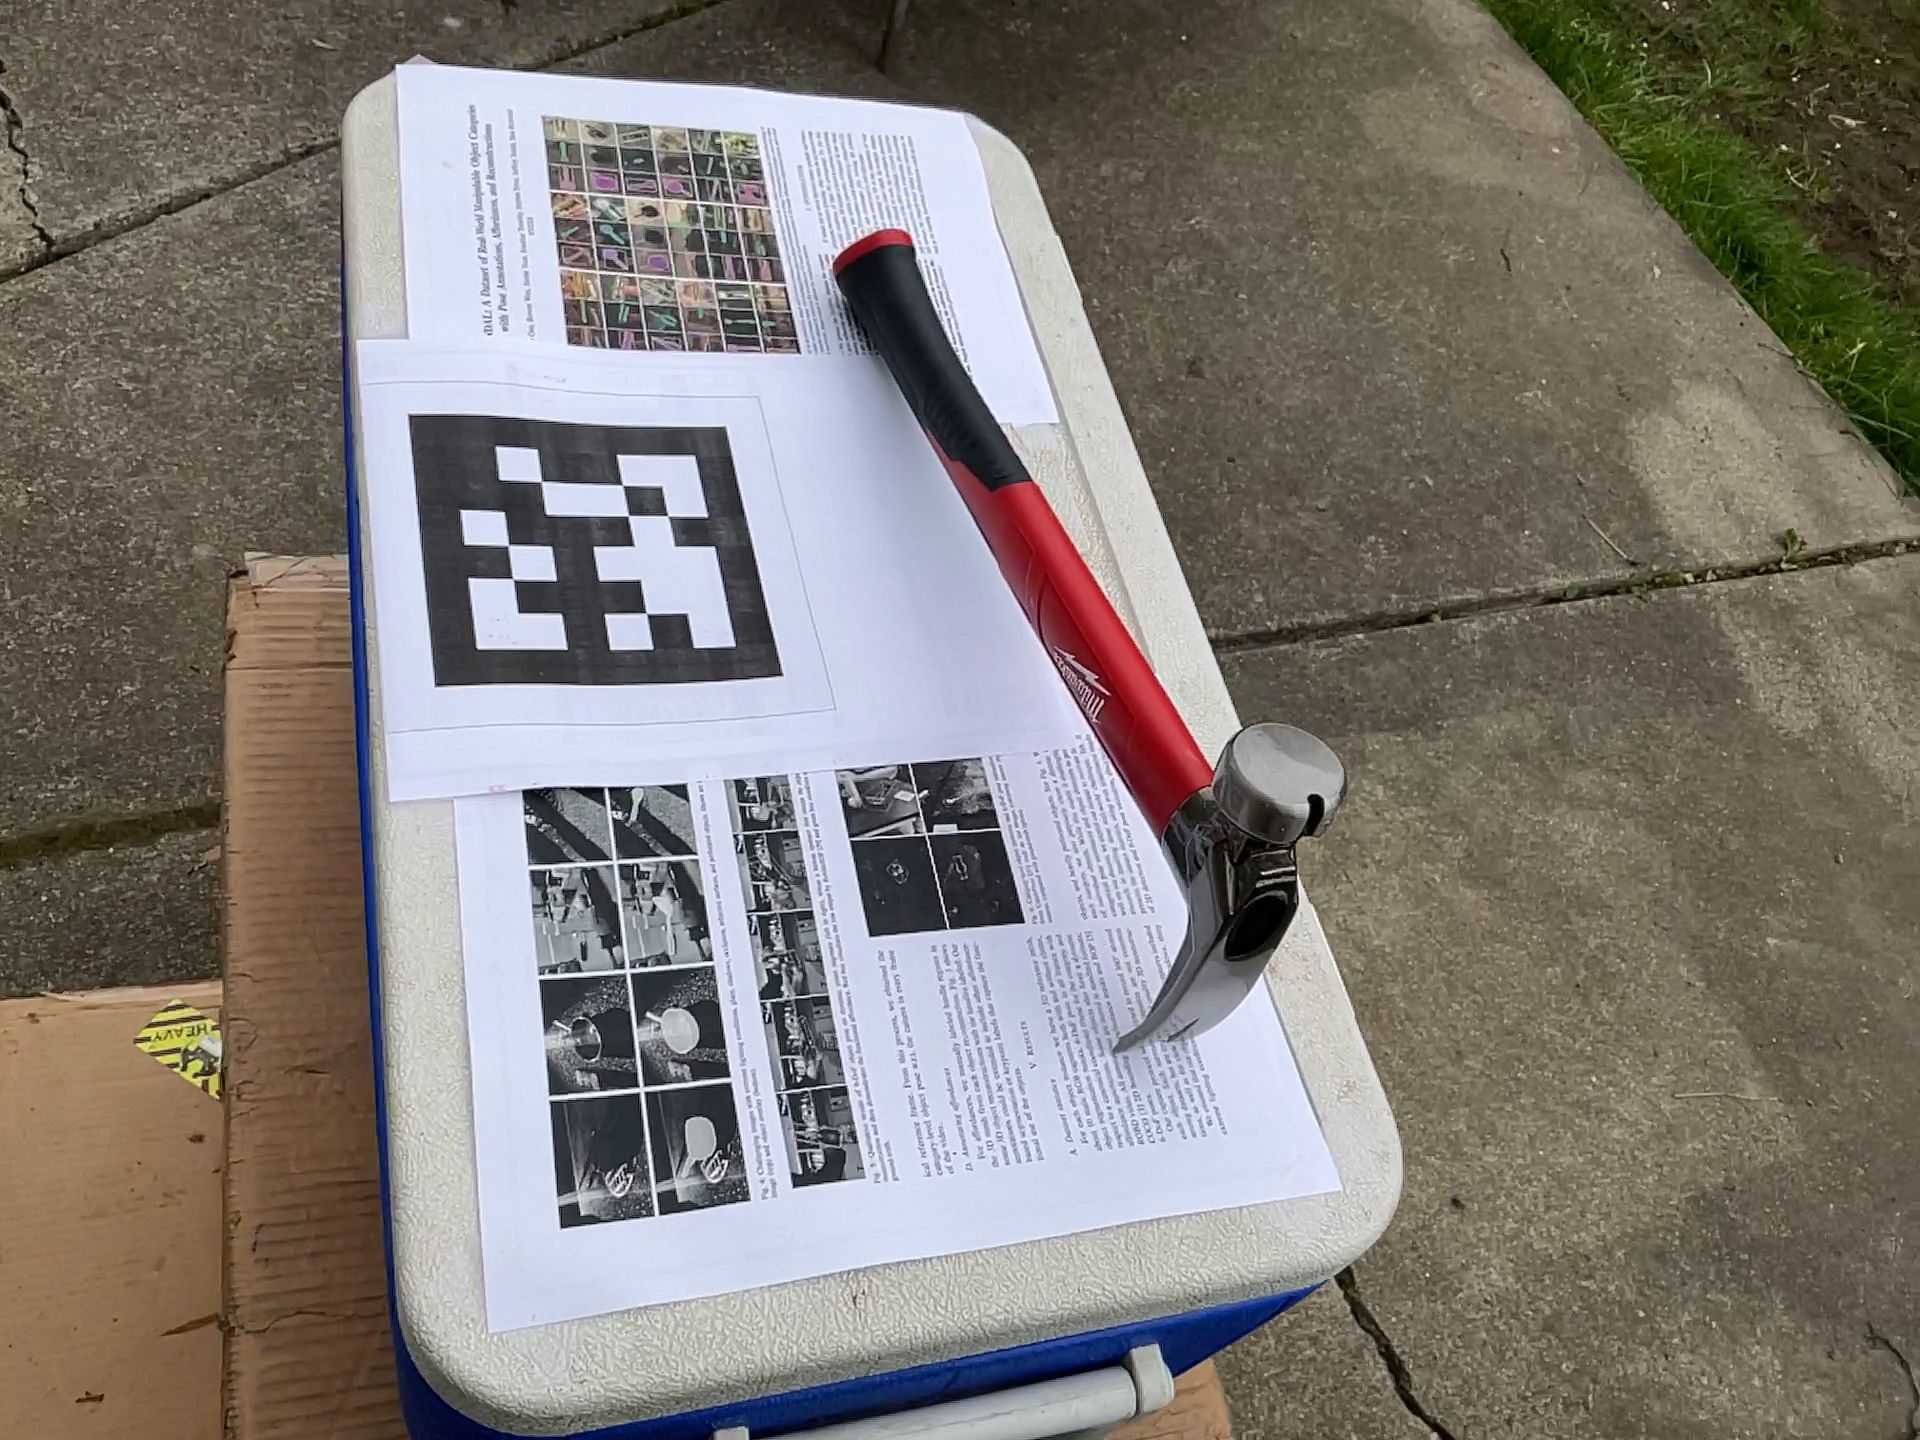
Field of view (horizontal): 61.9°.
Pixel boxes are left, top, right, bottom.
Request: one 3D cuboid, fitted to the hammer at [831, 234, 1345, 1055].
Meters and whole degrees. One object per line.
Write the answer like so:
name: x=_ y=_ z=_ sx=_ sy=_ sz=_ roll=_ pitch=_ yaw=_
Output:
hammer: x=0.020 y=-0.060 z=0.626 sx=0.038 sy=0.143 sz=0.387 roll=-6 pitch=47 yaw=-23
